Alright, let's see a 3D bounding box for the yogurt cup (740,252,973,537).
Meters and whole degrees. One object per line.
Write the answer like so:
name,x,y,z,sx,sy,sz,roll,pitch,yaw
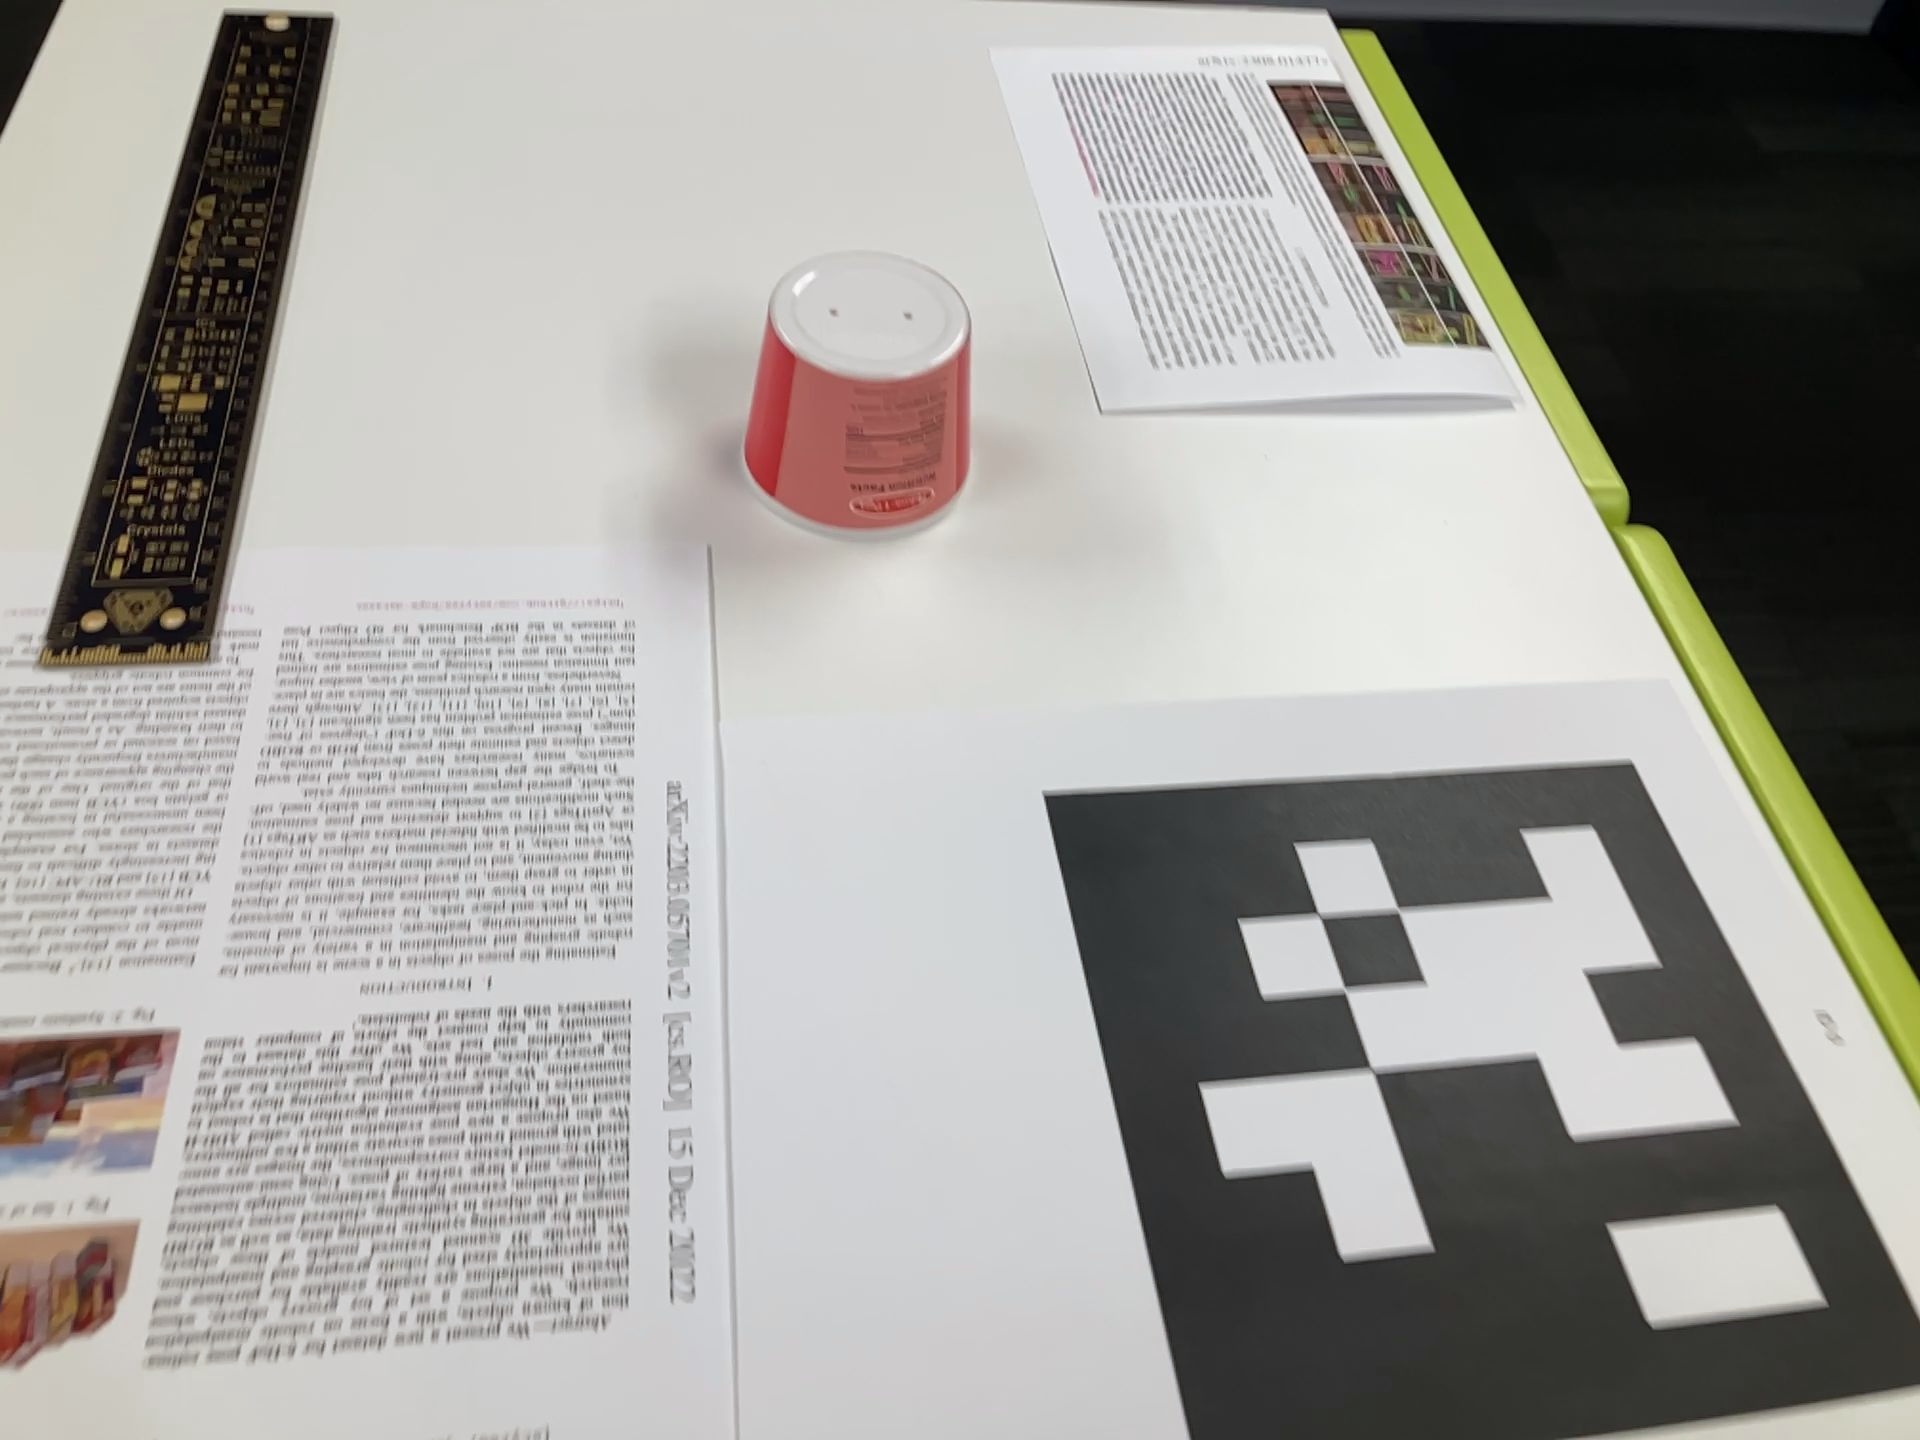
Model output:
yogurt cup,-0.027,-0.094,0.446,0.072,0.054,0.072,5,51,-6
